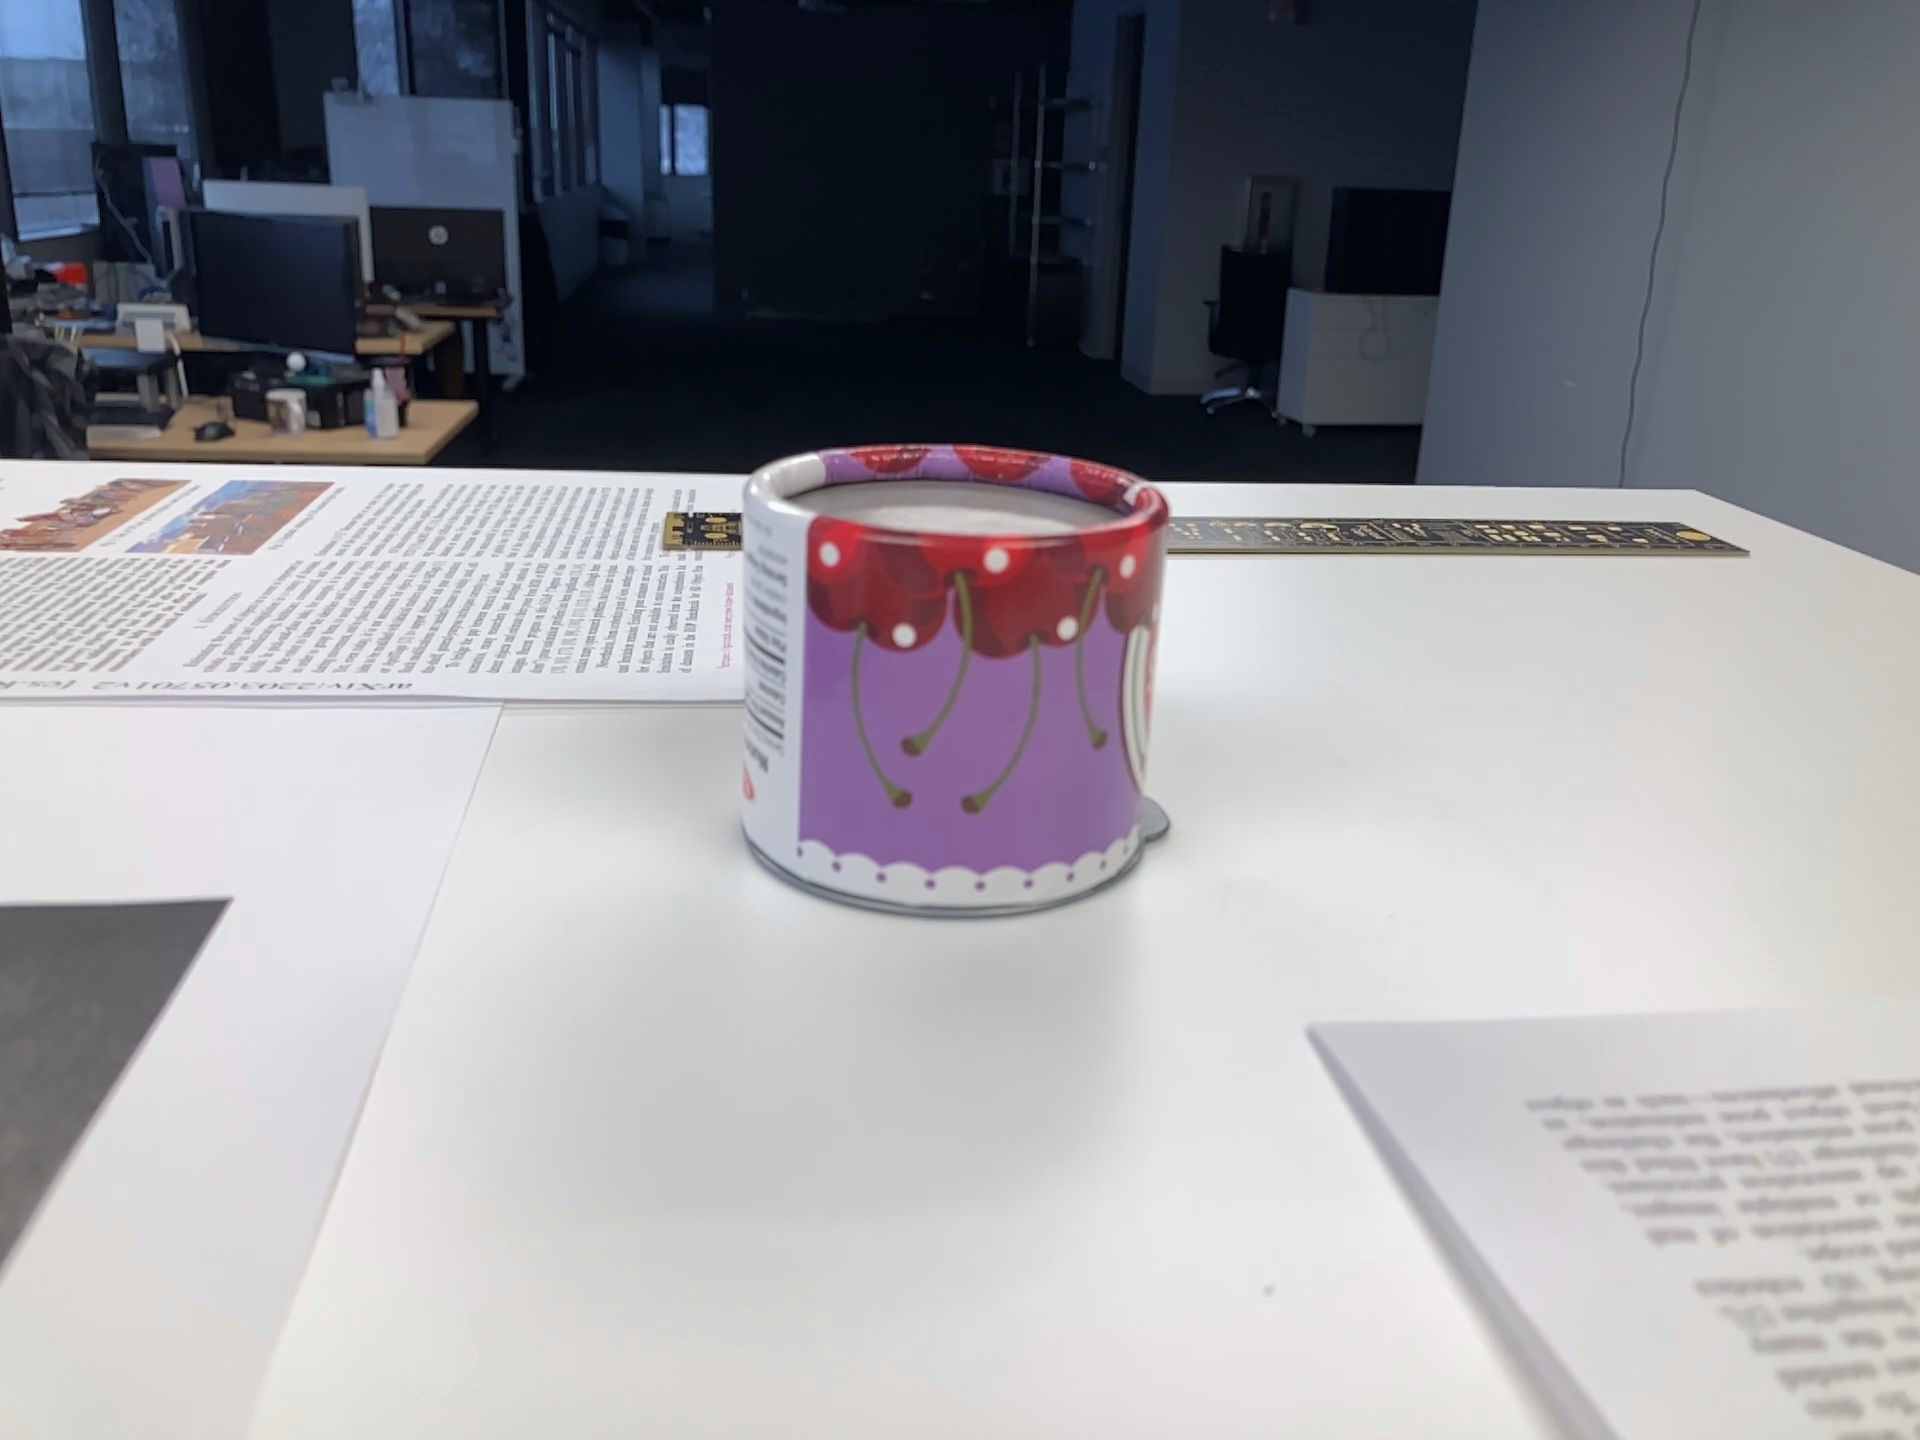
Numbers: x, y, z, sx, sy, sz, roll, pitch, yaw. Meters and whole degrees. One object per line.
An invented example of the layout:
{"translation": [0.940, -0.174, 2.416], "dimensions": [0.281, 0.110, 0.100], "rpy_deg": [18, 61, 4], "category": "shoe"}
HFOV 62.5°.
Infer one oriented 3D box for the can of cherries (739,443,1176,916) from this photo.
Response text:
{"translation": [0.001, -0.010, 0.251], "dimensions": [0.071, 0.058, 0.071], "rpy_deg": [3, 19, -1], "category": "can of cherries"}
